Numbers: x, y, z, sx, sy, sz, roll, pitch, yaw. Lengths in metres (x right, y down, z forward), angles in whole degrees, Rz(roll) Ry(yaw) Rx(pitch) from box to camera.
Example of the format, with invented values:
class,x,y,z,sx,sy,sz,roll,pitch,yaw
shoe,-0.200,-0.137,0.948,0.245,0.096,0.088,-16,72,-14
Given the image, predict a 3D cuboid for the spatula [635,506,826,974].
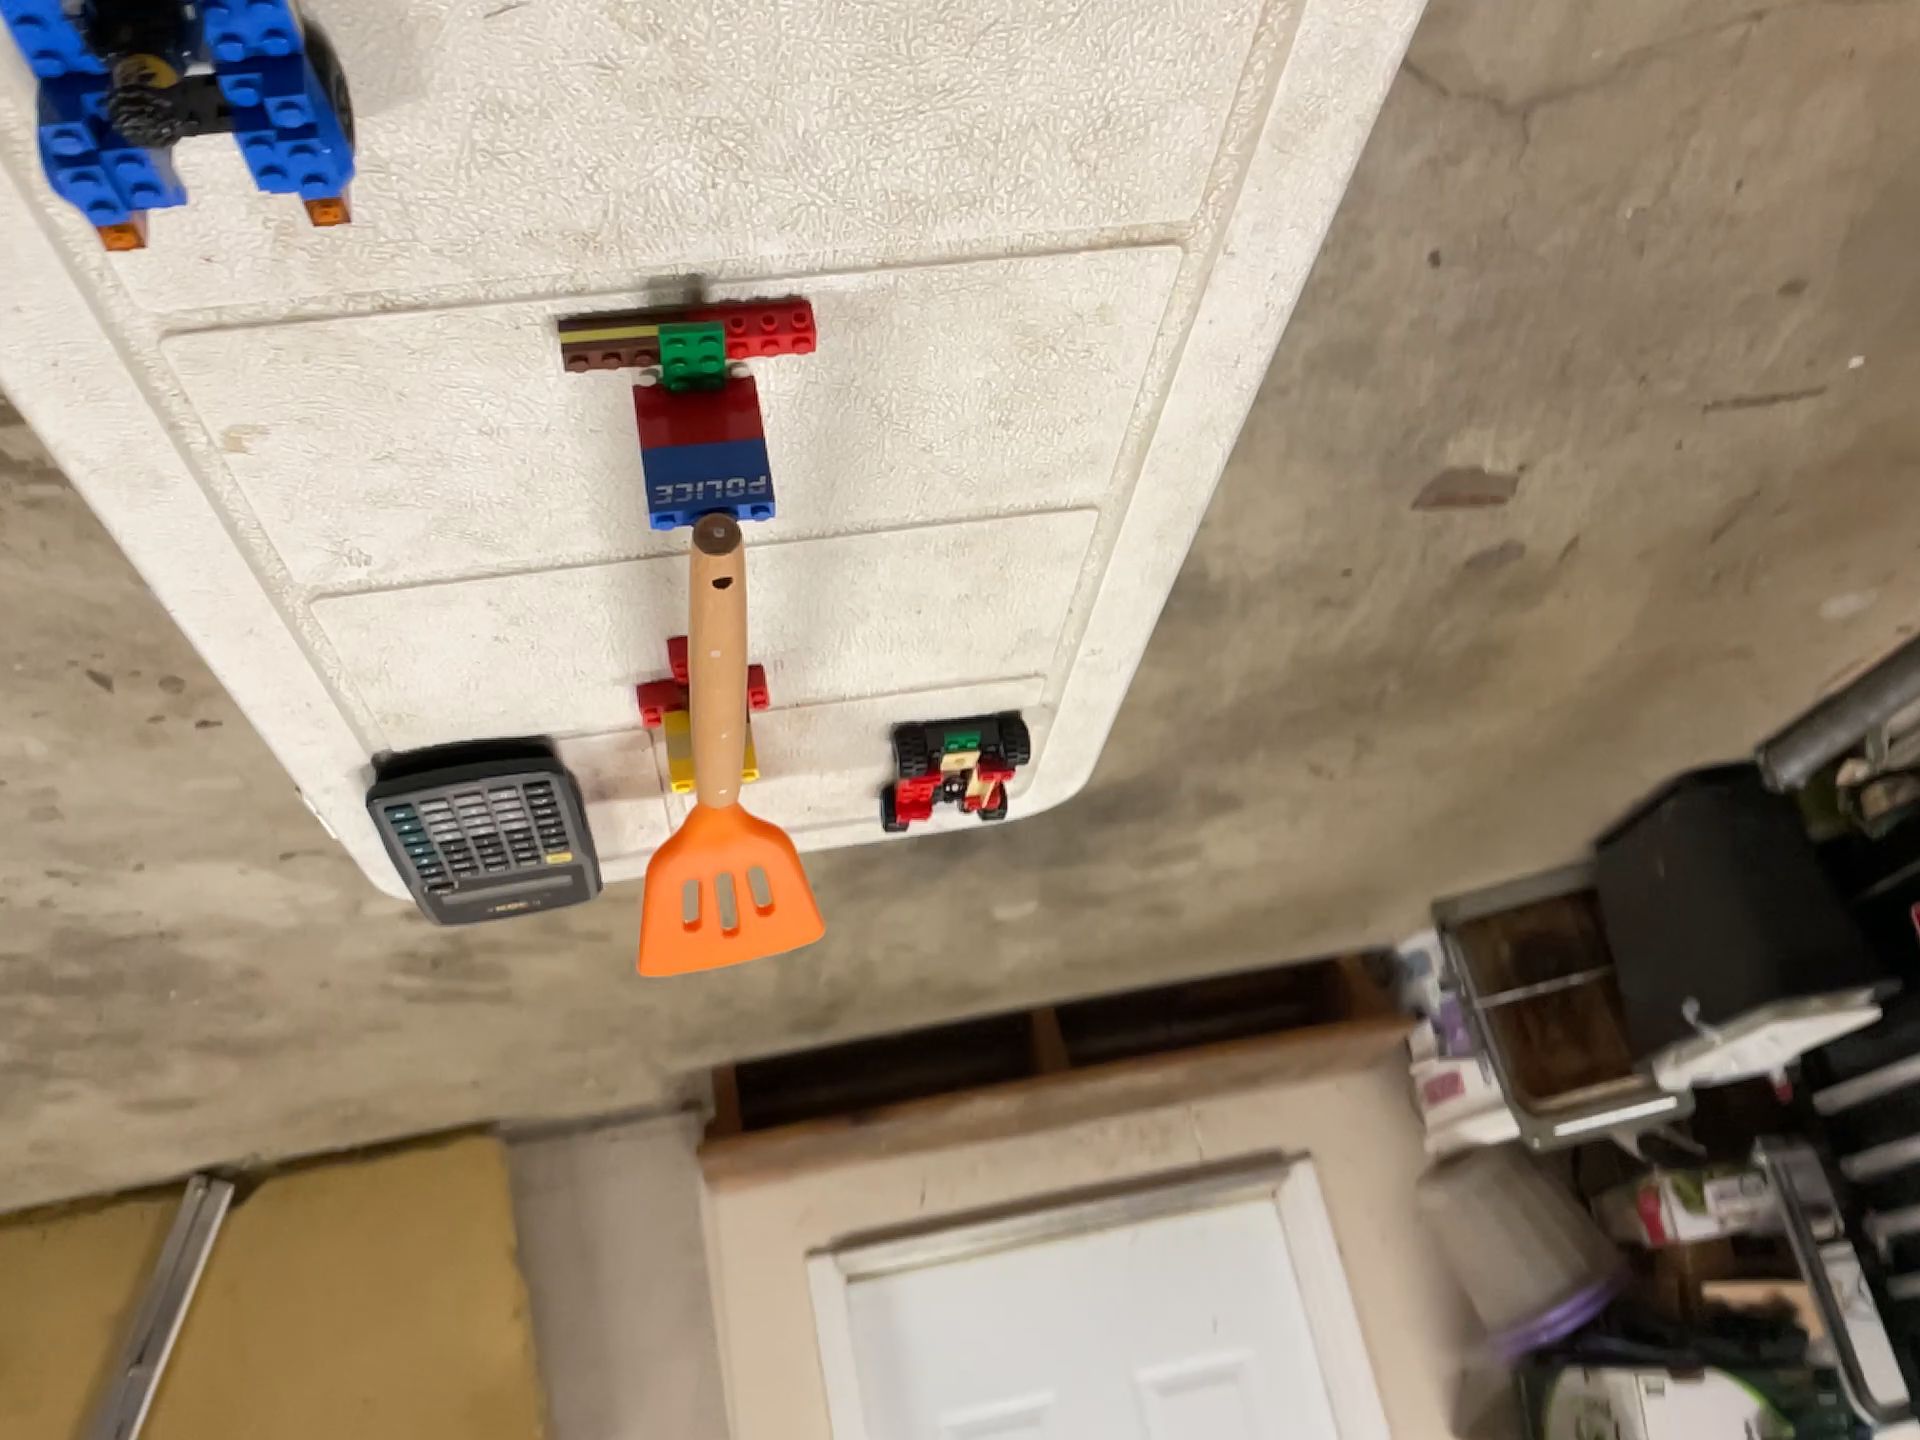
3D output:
class,x,y,z,sx,sy,sz,roll,pitch,yaw
spatula,-0.080,0.022,0.542,0.081,0.041,0.322,-10,159,-12
